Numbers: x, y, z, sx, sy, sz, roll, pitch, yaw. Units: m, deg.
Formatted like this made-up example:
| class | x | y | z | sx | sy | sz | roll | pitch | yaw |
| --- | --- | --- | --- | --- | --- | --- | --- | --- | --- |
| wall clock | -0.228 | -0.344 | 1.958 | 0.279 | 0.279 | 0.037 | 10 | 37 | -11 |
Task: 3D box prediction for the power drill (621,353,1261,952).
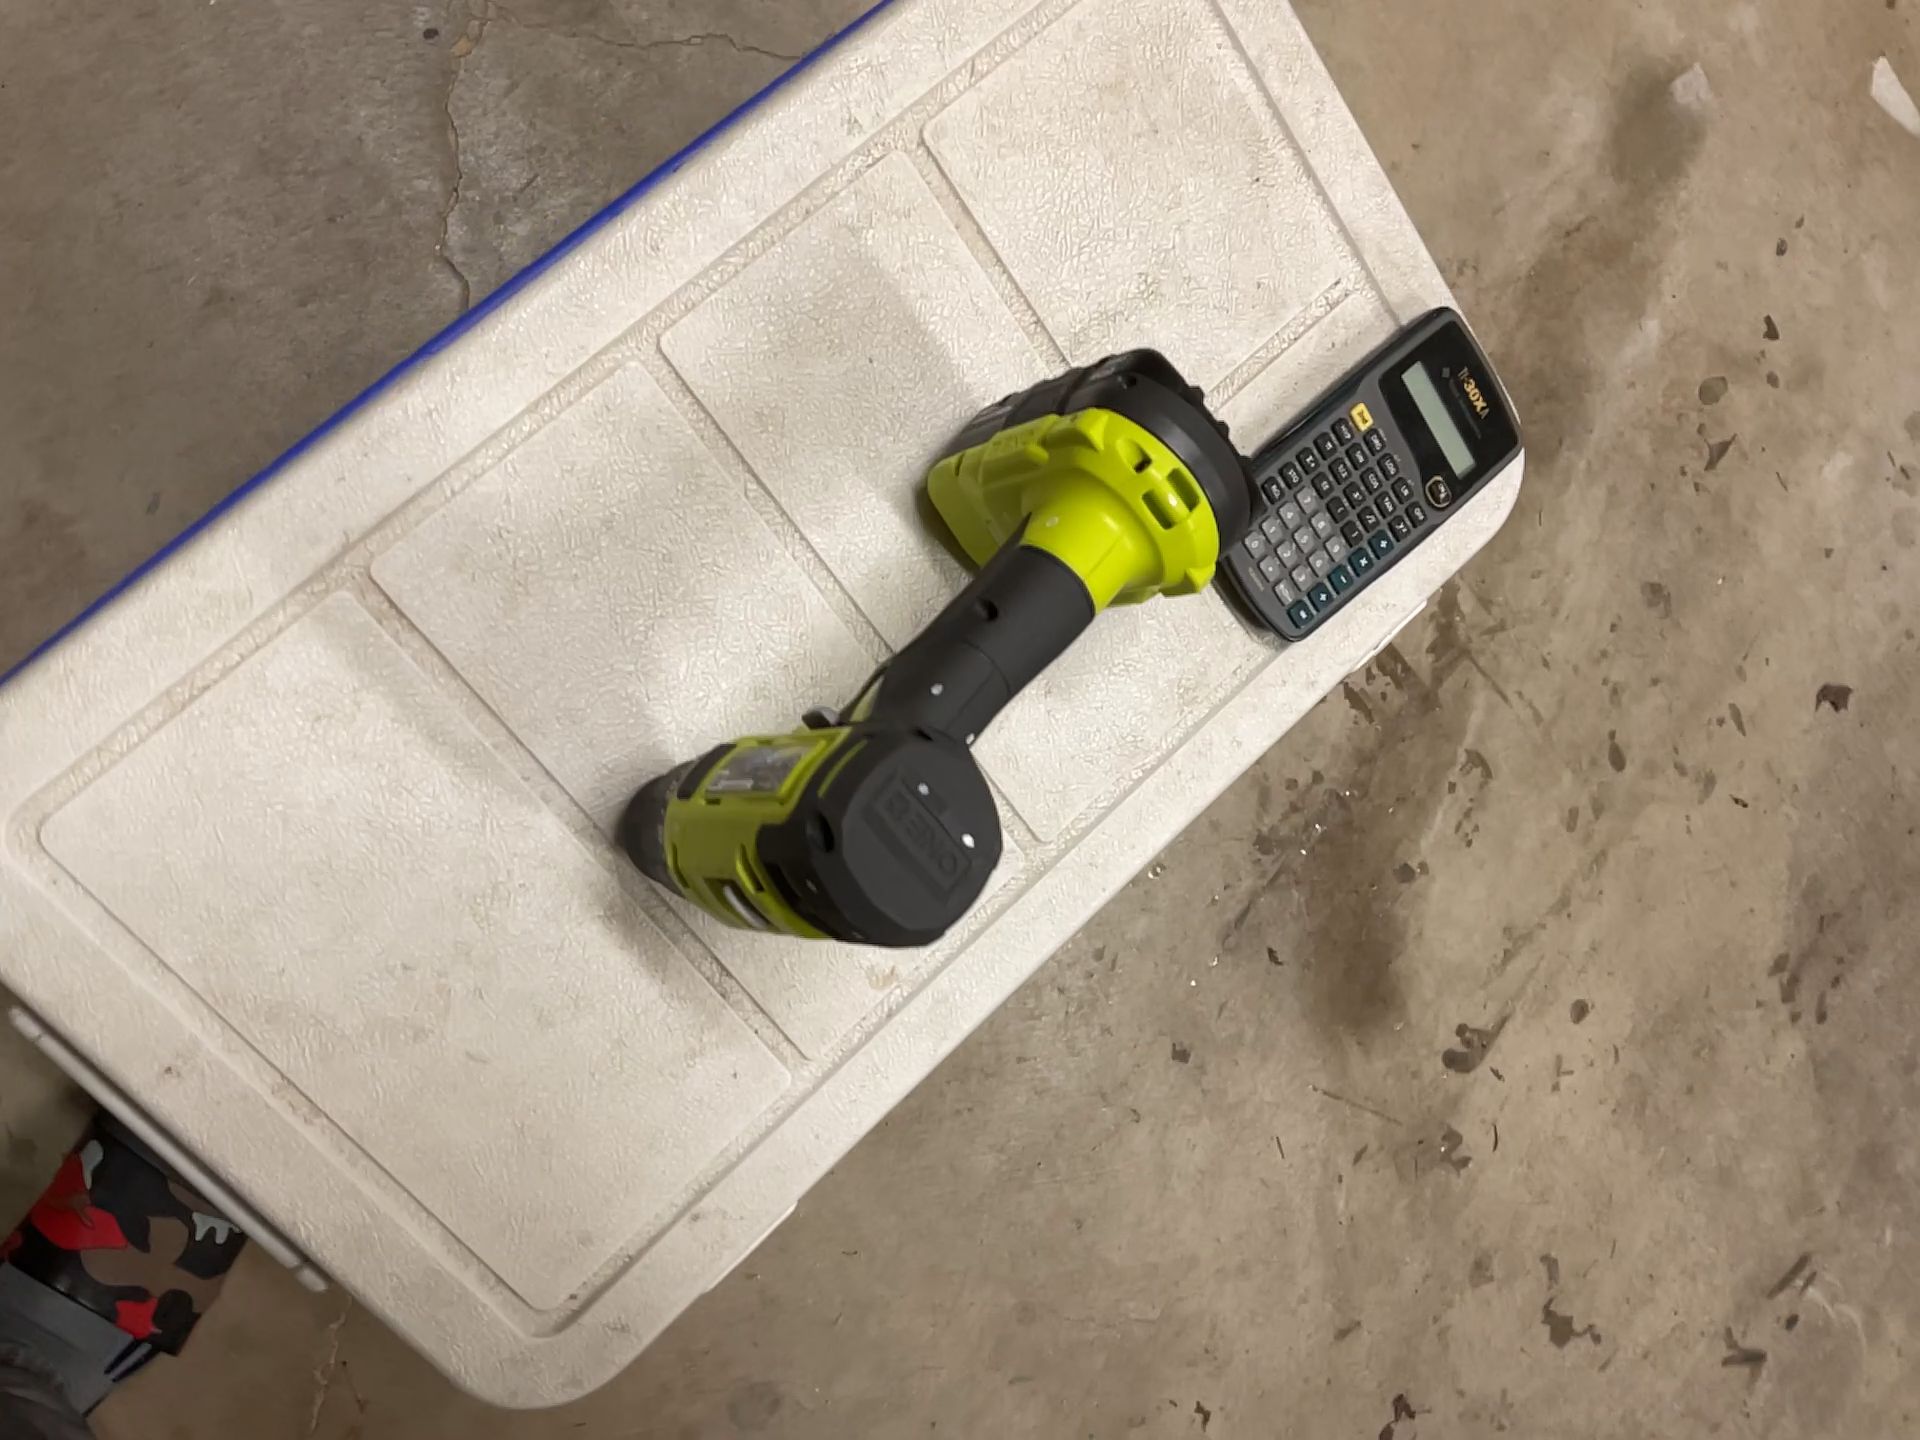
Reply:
| class | x | y | z | sx | sy | sz | roll | pitch | yaw |
| --- | --- | --- | --- | --- | --- | --- | --- | --- | --- |
| power drill | -0.016 | -0.018 | 0.561 | 0.080 | 0.190 | 0.229 | 50 | 64 | -21 |
